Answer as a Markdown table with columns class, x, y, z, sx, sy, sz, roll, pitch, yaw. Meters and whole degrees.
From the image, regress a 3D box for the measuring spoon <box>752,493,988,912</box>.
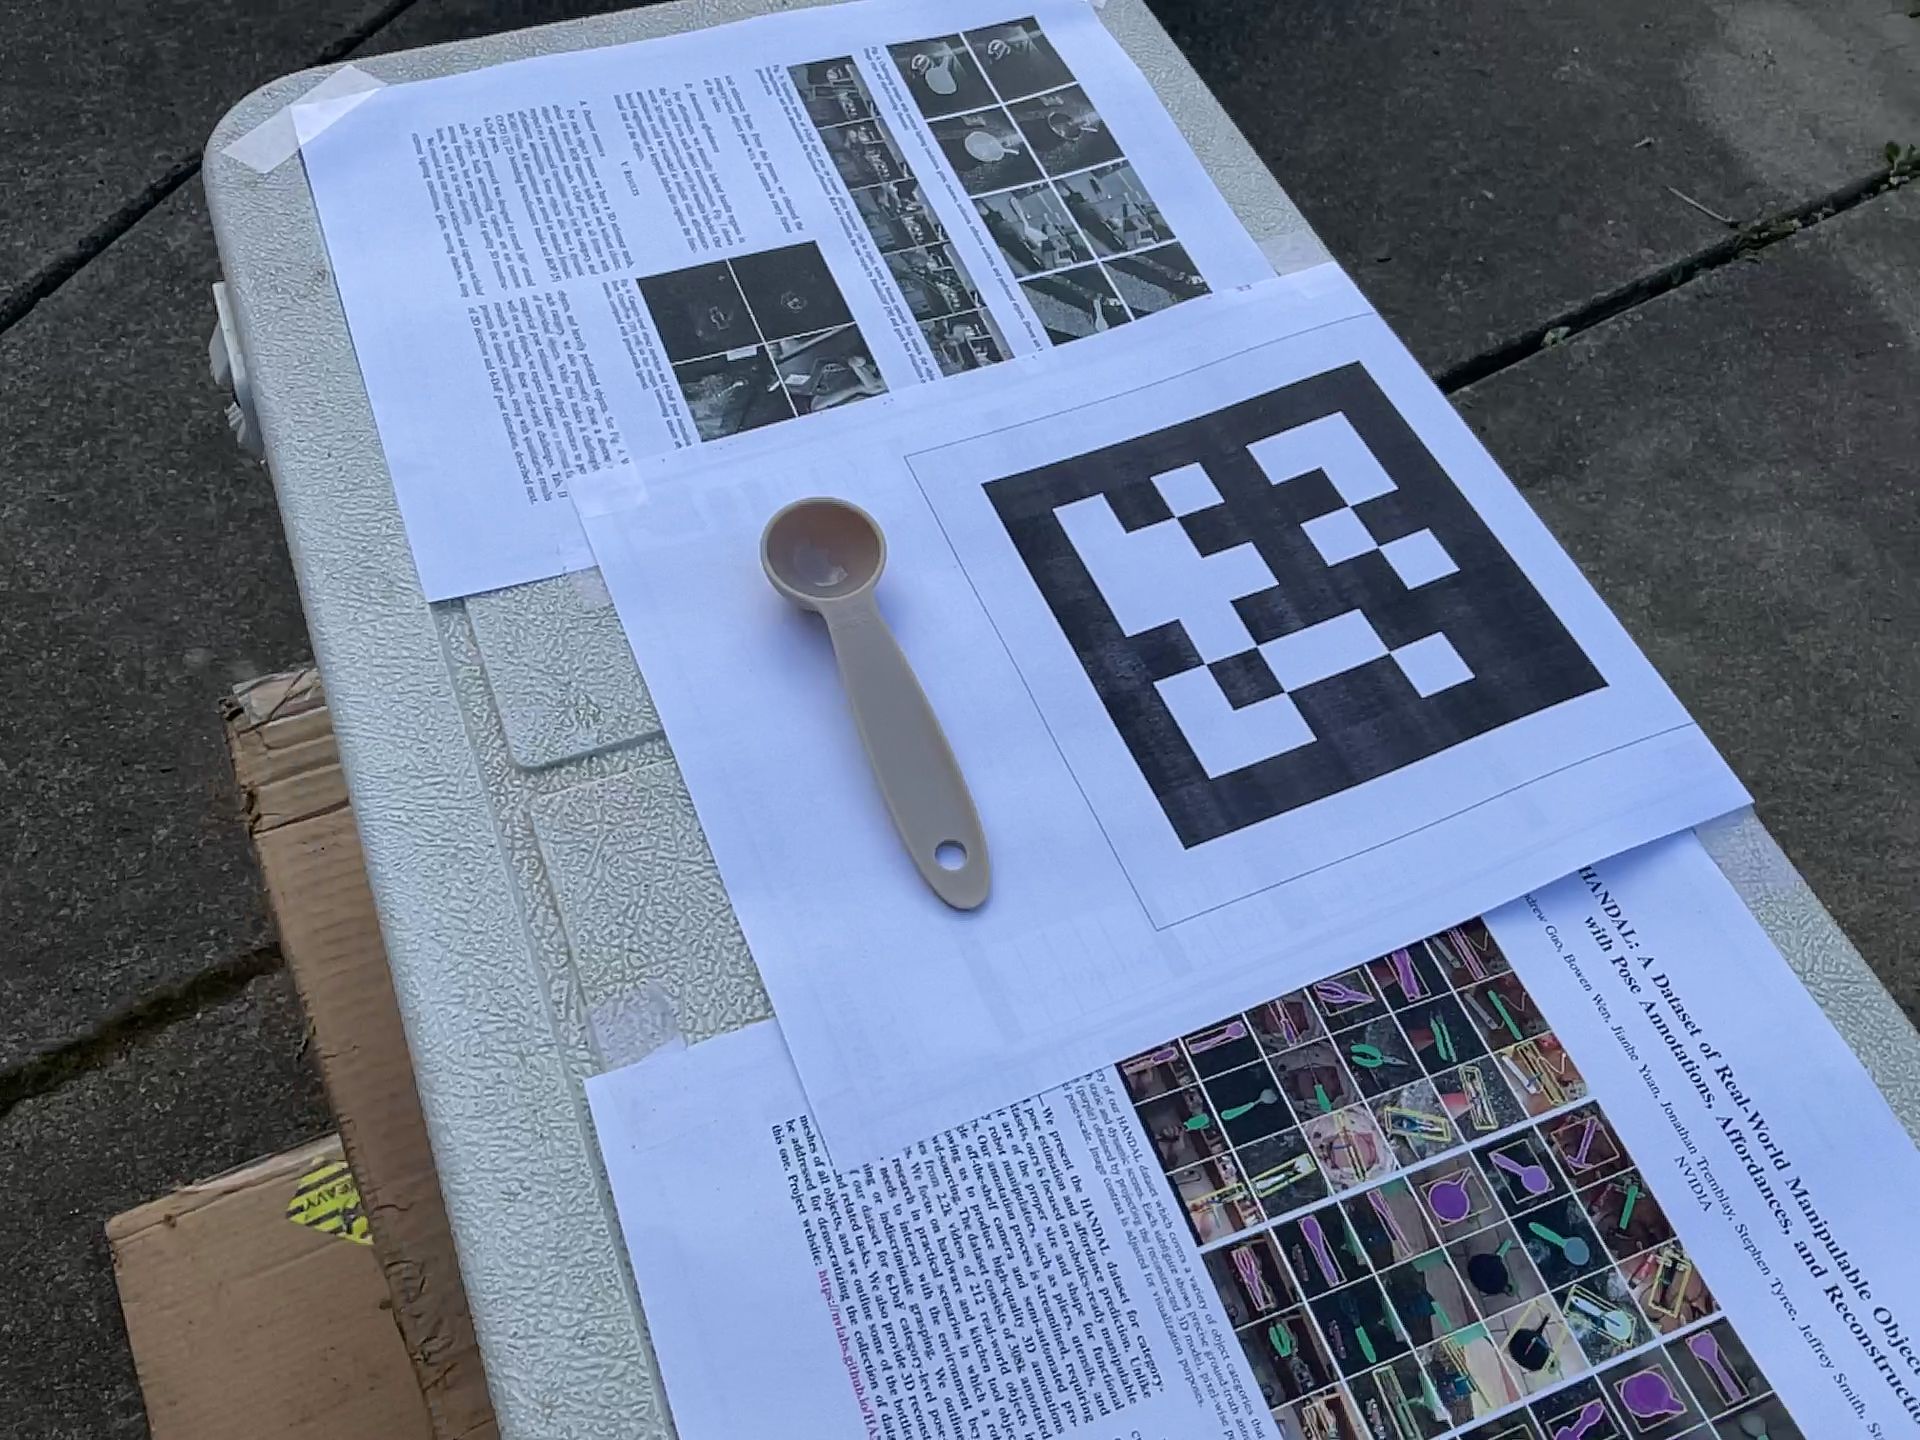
| class | x | y | z | sx | sy | sz | roll | pitch | yaw |
| --- | --- | --- | --- | --- | --- | --- | --- | --- | --- |
| measuring spoon | -0.022 | -0.005 | 0.412 | 0.034 | 0.018 | 0.124 | -17 | 67 | -16 |
